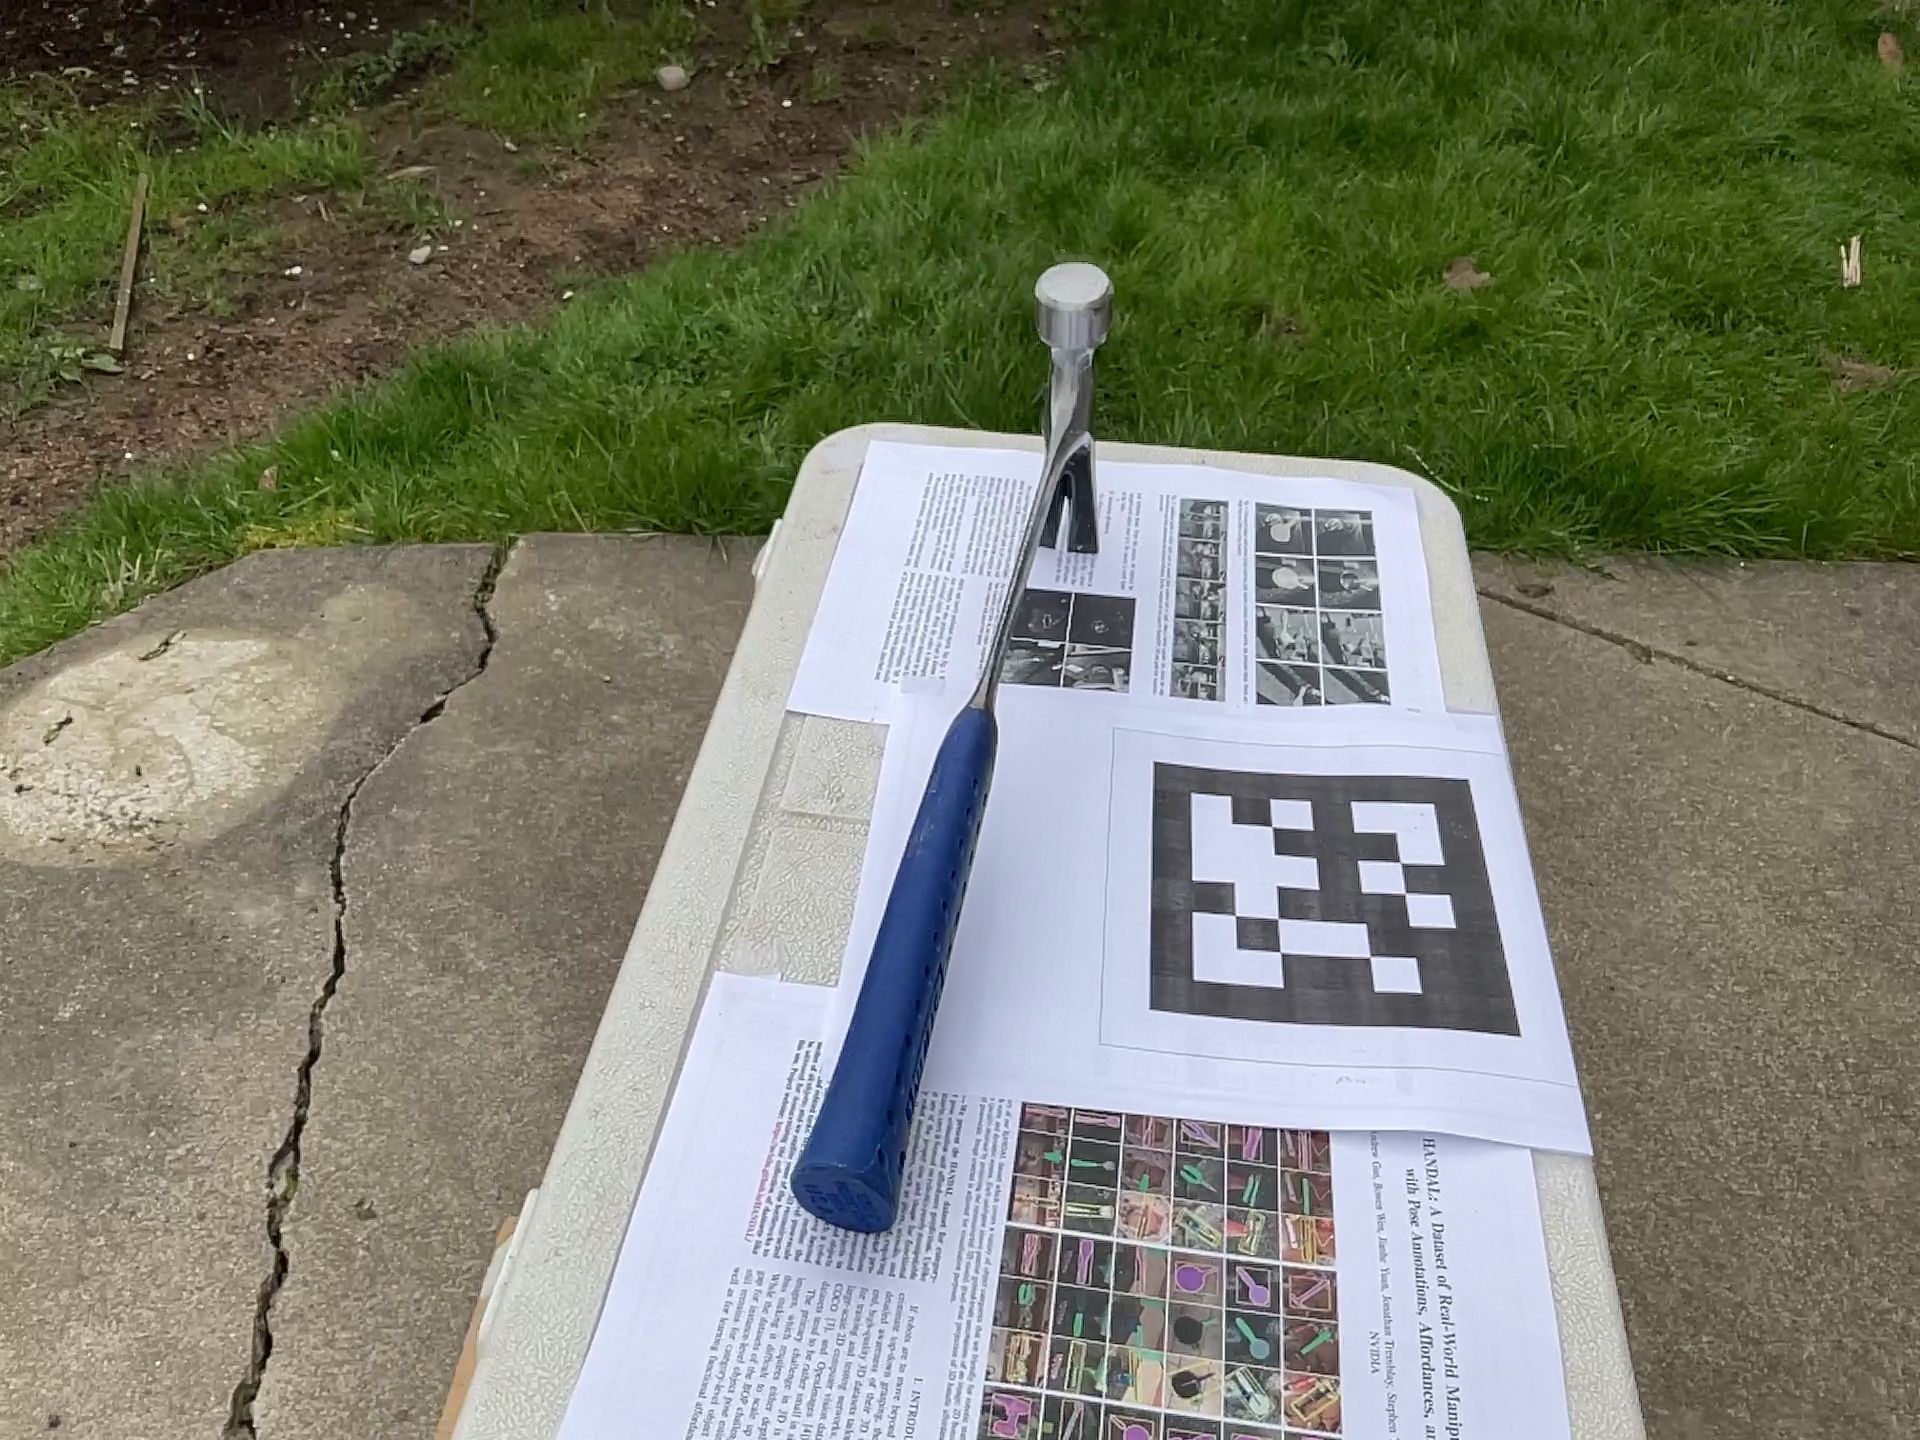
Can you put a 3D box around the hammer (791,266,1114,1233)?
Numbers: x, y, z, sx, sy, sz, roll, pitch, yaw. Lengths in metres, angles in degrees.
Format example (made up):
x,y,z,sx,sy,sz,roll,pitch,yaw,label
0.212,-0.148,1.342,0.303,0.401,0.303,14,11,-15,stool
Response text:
x,y,z,sx,sy,sz,roll,pitch,yaw,label
0.010,0.000,0.618,0.035,0.144,0.406,9,51,10,hammer
